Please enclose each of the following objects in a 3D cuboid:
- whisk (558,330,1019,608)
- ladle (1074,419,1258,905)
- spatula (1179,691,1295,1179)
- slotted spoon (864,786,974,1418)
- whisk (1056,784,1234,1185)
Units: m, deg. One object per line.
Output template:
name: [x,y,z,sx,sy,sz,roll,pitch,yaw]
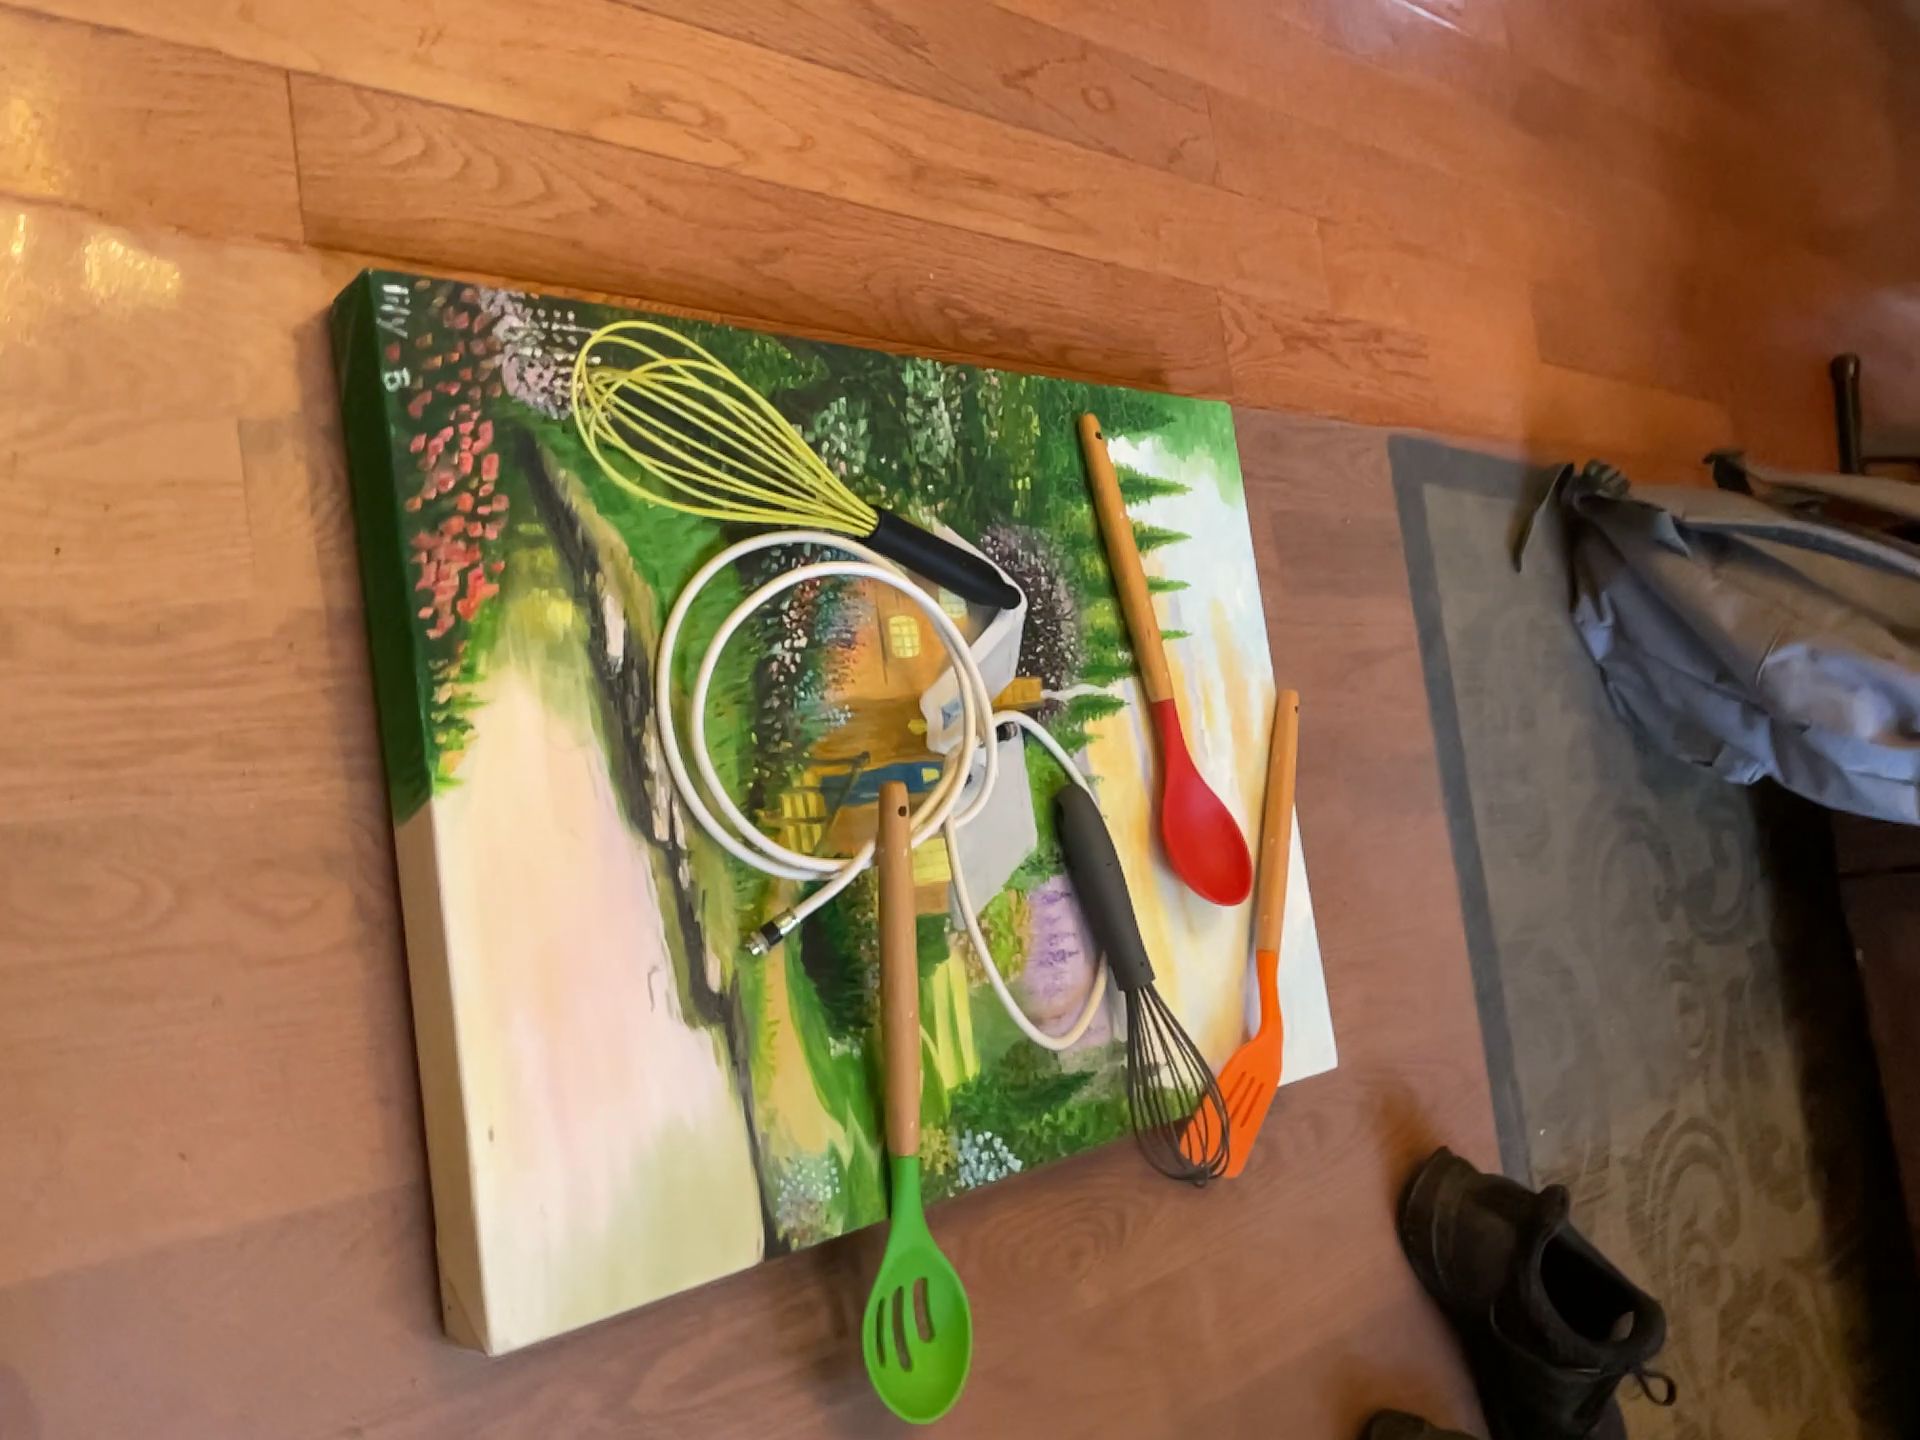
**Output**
whisk: [-0.073,-0.111,0.814,0.311,0.067,0.080,22,71,-44]
ladle: [0.120,-0.036,0.989,0.069,0.031,0.315,-15,87,-45]
spatula: [0.191,0.129,1.028,0.080,0.041,0.323,36,55,-45]
slotted spoon: [-0.027,0.189,0.788,0.070,0.031,0.314,-7,96,-43]
whisk: [0.102,0.150,0.914,0.055,0.055,0.239,-13,83,-54]
